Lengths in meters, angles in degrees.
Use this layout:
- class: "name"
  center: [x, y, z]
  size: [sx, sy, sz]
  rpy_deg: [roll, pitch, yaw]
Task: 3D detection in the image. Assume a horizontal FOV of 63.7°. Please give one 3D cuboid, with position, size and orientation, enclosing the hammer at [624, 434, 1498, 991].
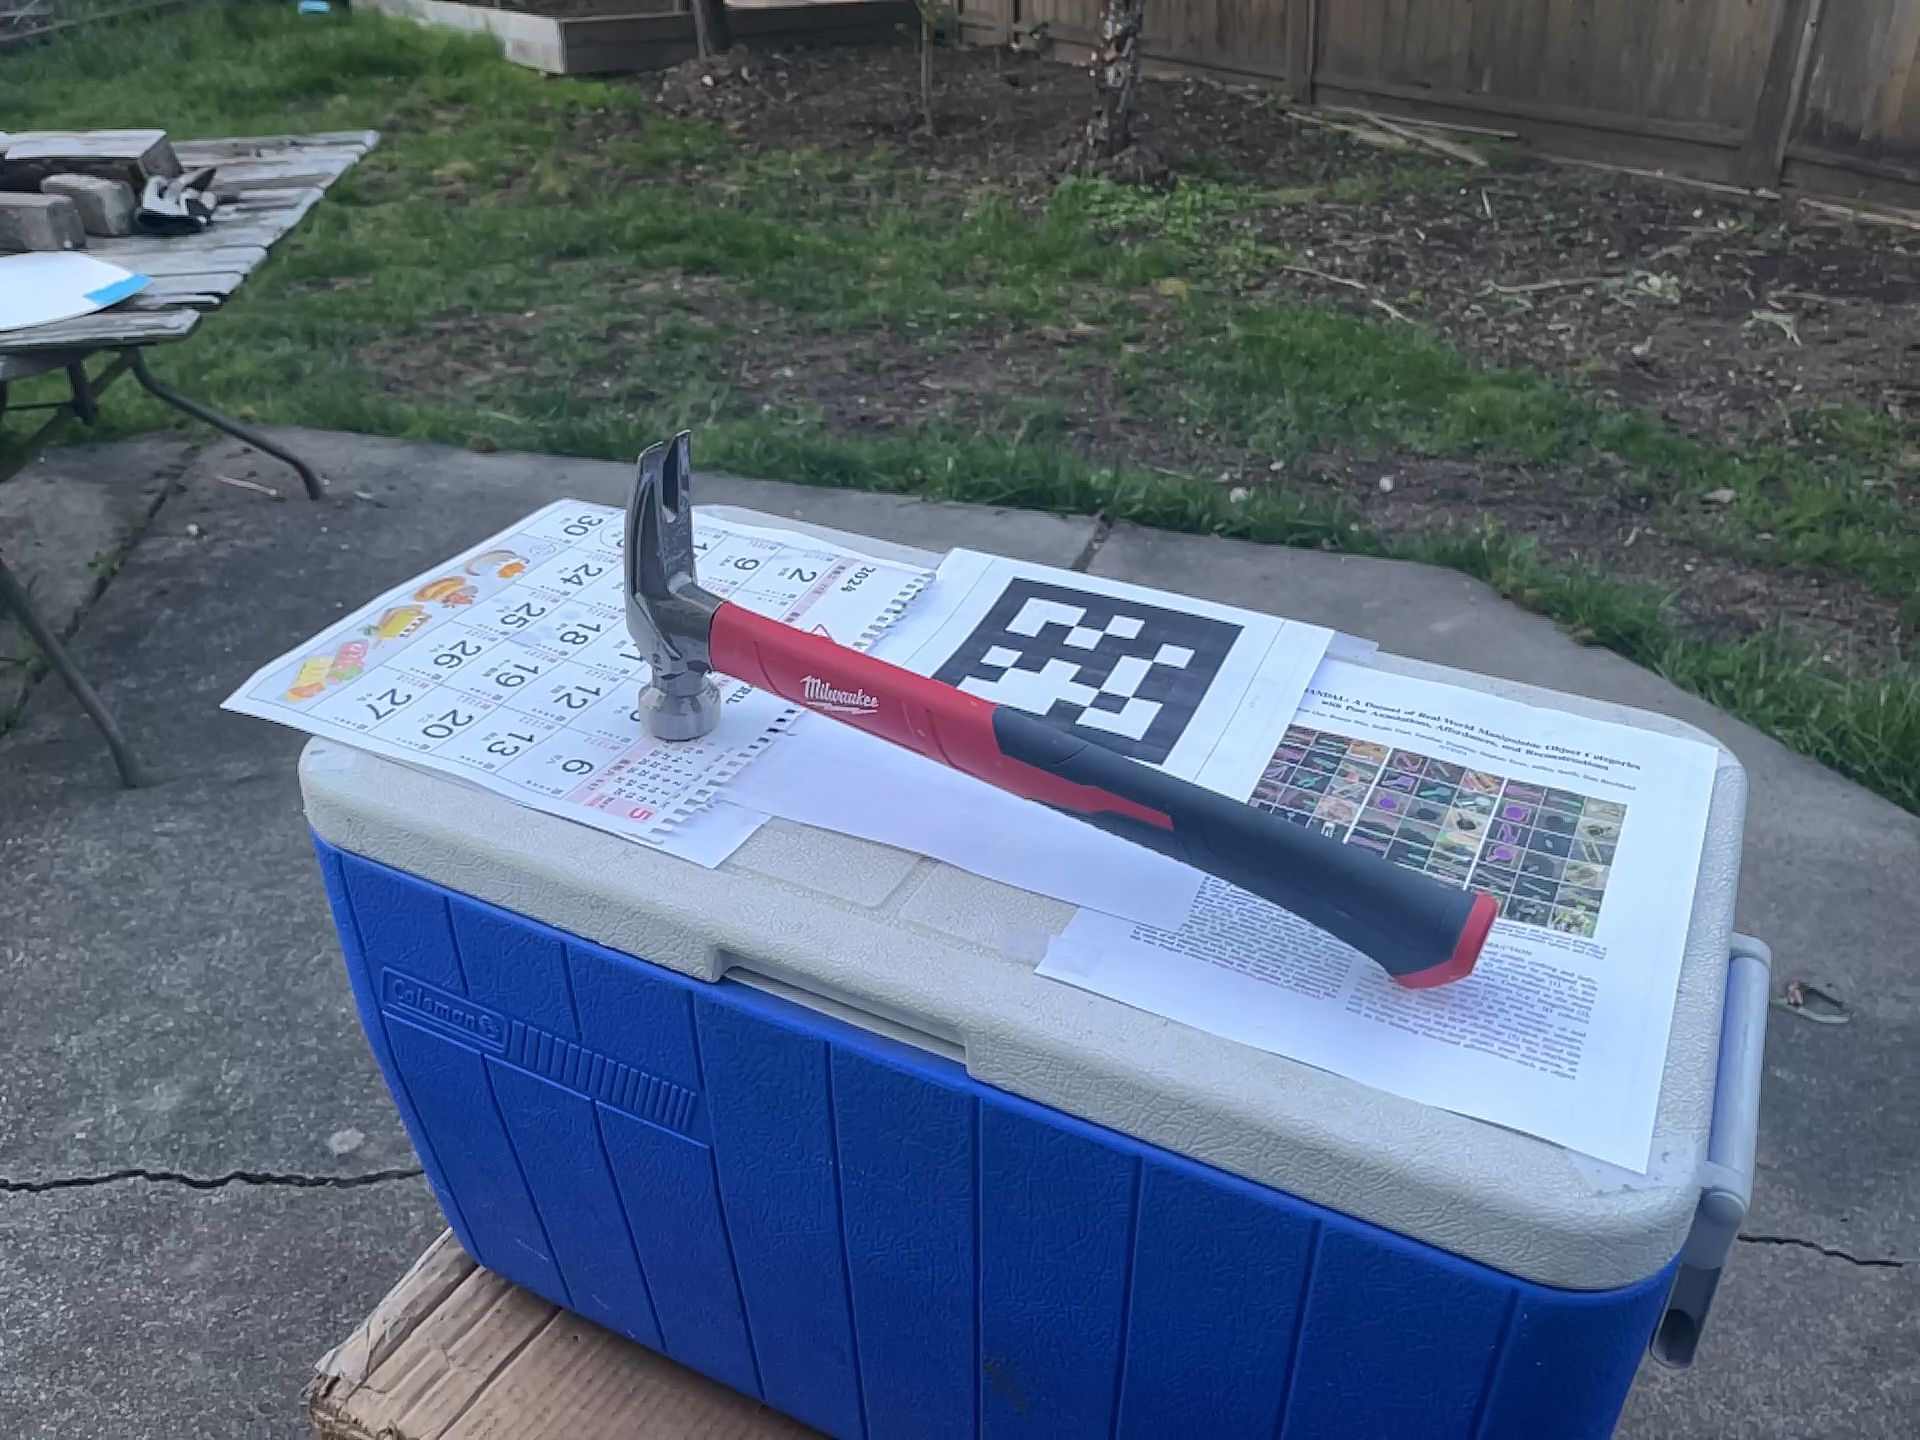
- class: "hammer"
  center: [0.024, 0.002, 0.620]
  size: [0.386, 0.143, 0.038]
  rpy_deg: [21, 37, 23]
